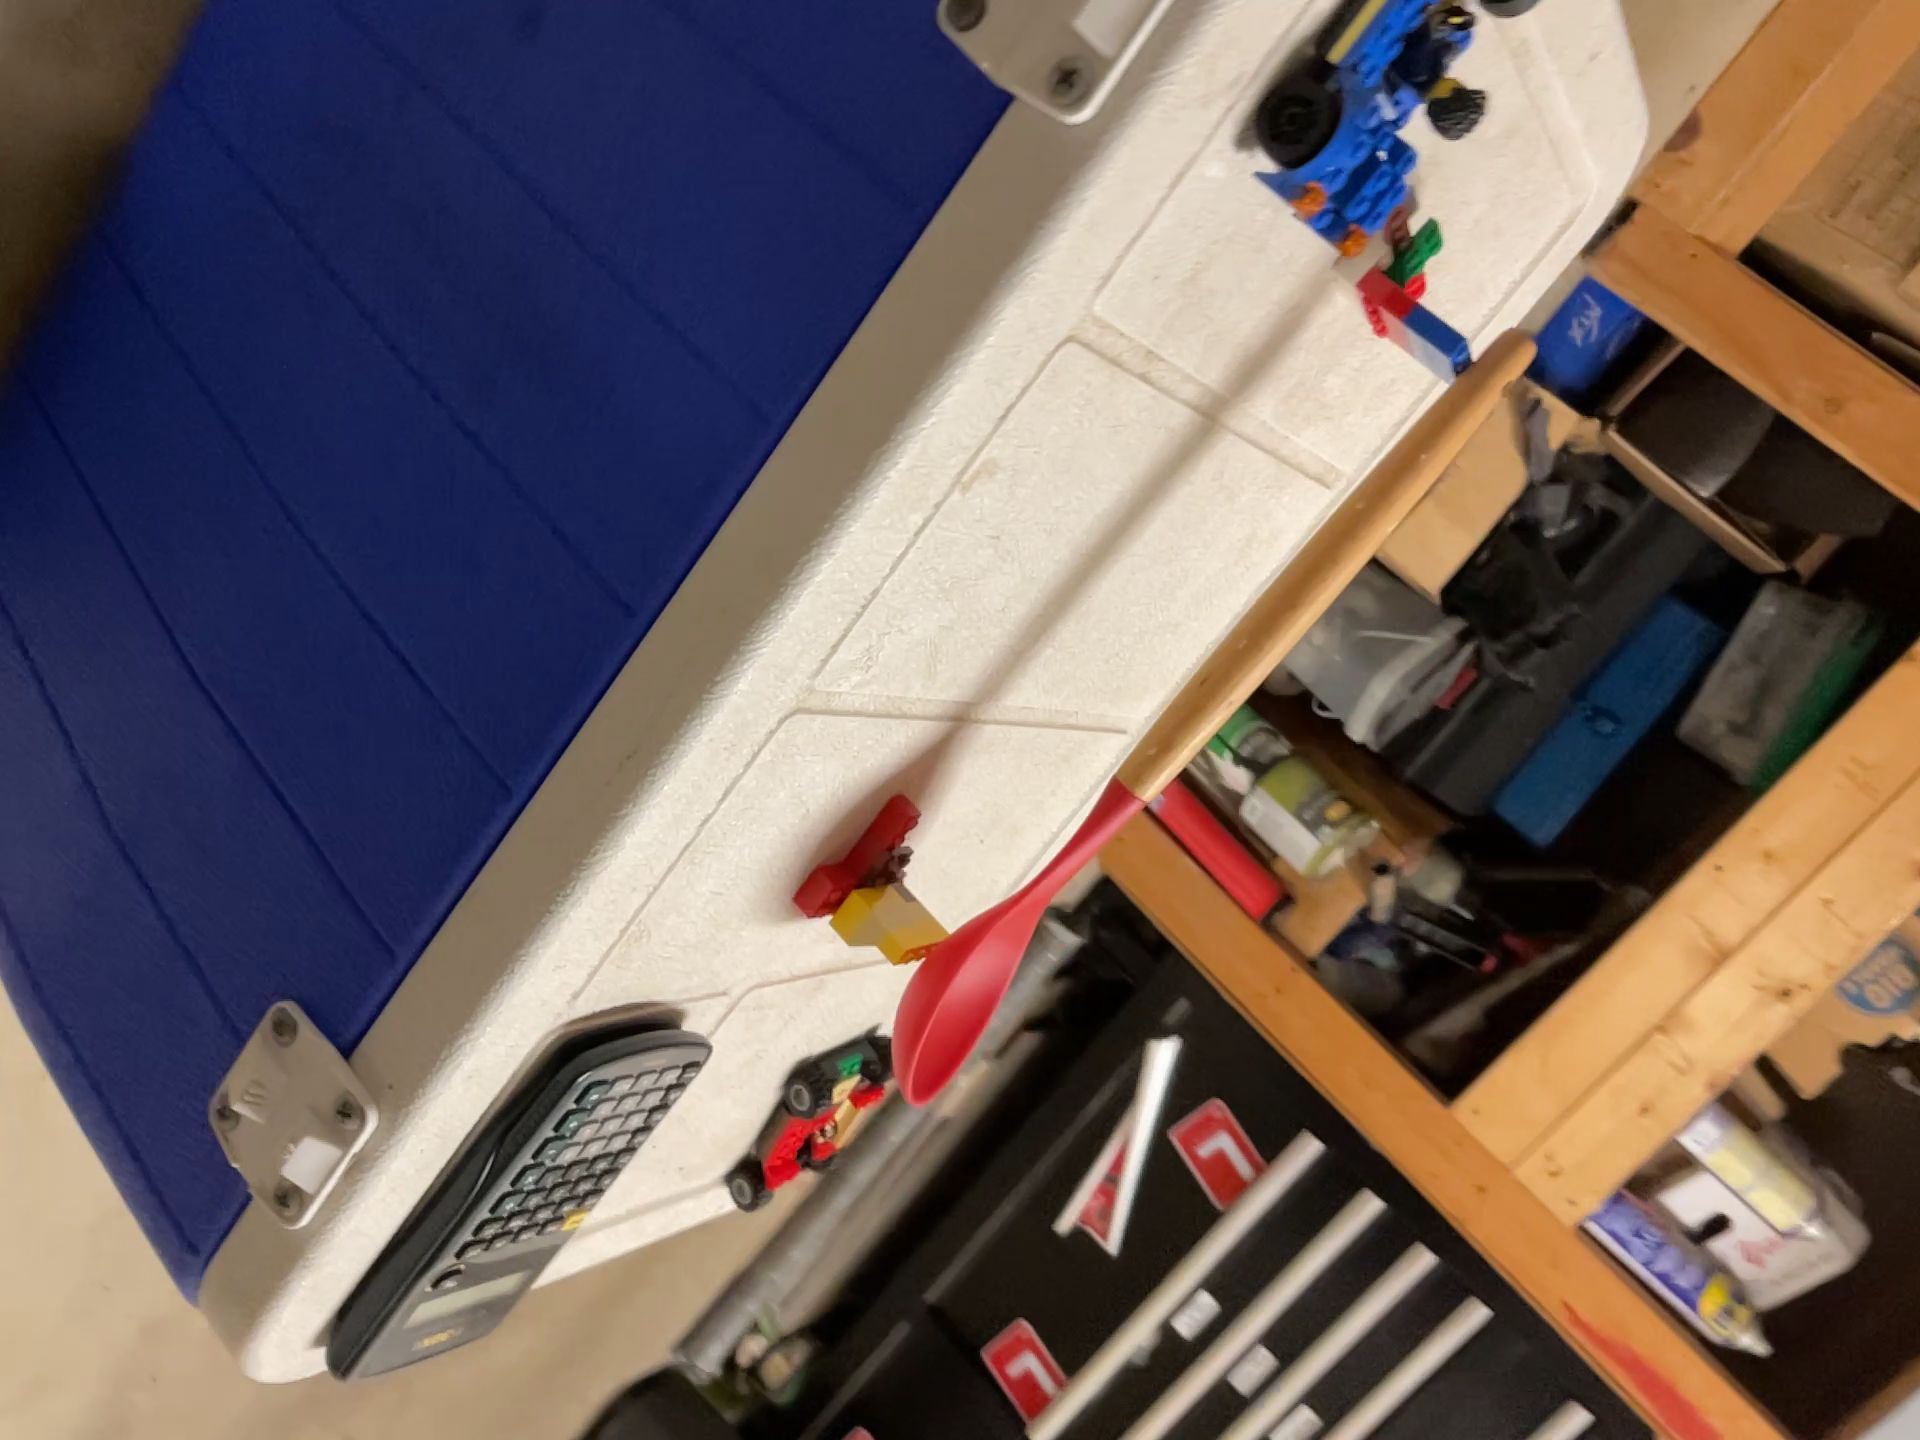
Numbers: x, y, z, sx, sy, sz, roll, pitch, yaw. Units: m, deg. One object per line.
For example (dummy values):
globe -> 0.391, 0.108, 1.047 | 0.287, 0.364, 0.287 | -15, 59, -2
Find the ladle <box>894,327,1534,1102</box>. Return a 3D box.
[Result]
ladle -> 0.074, 0.002, 0.520 | 0.315, 0.031, 0.069 | -51, 162, 13
